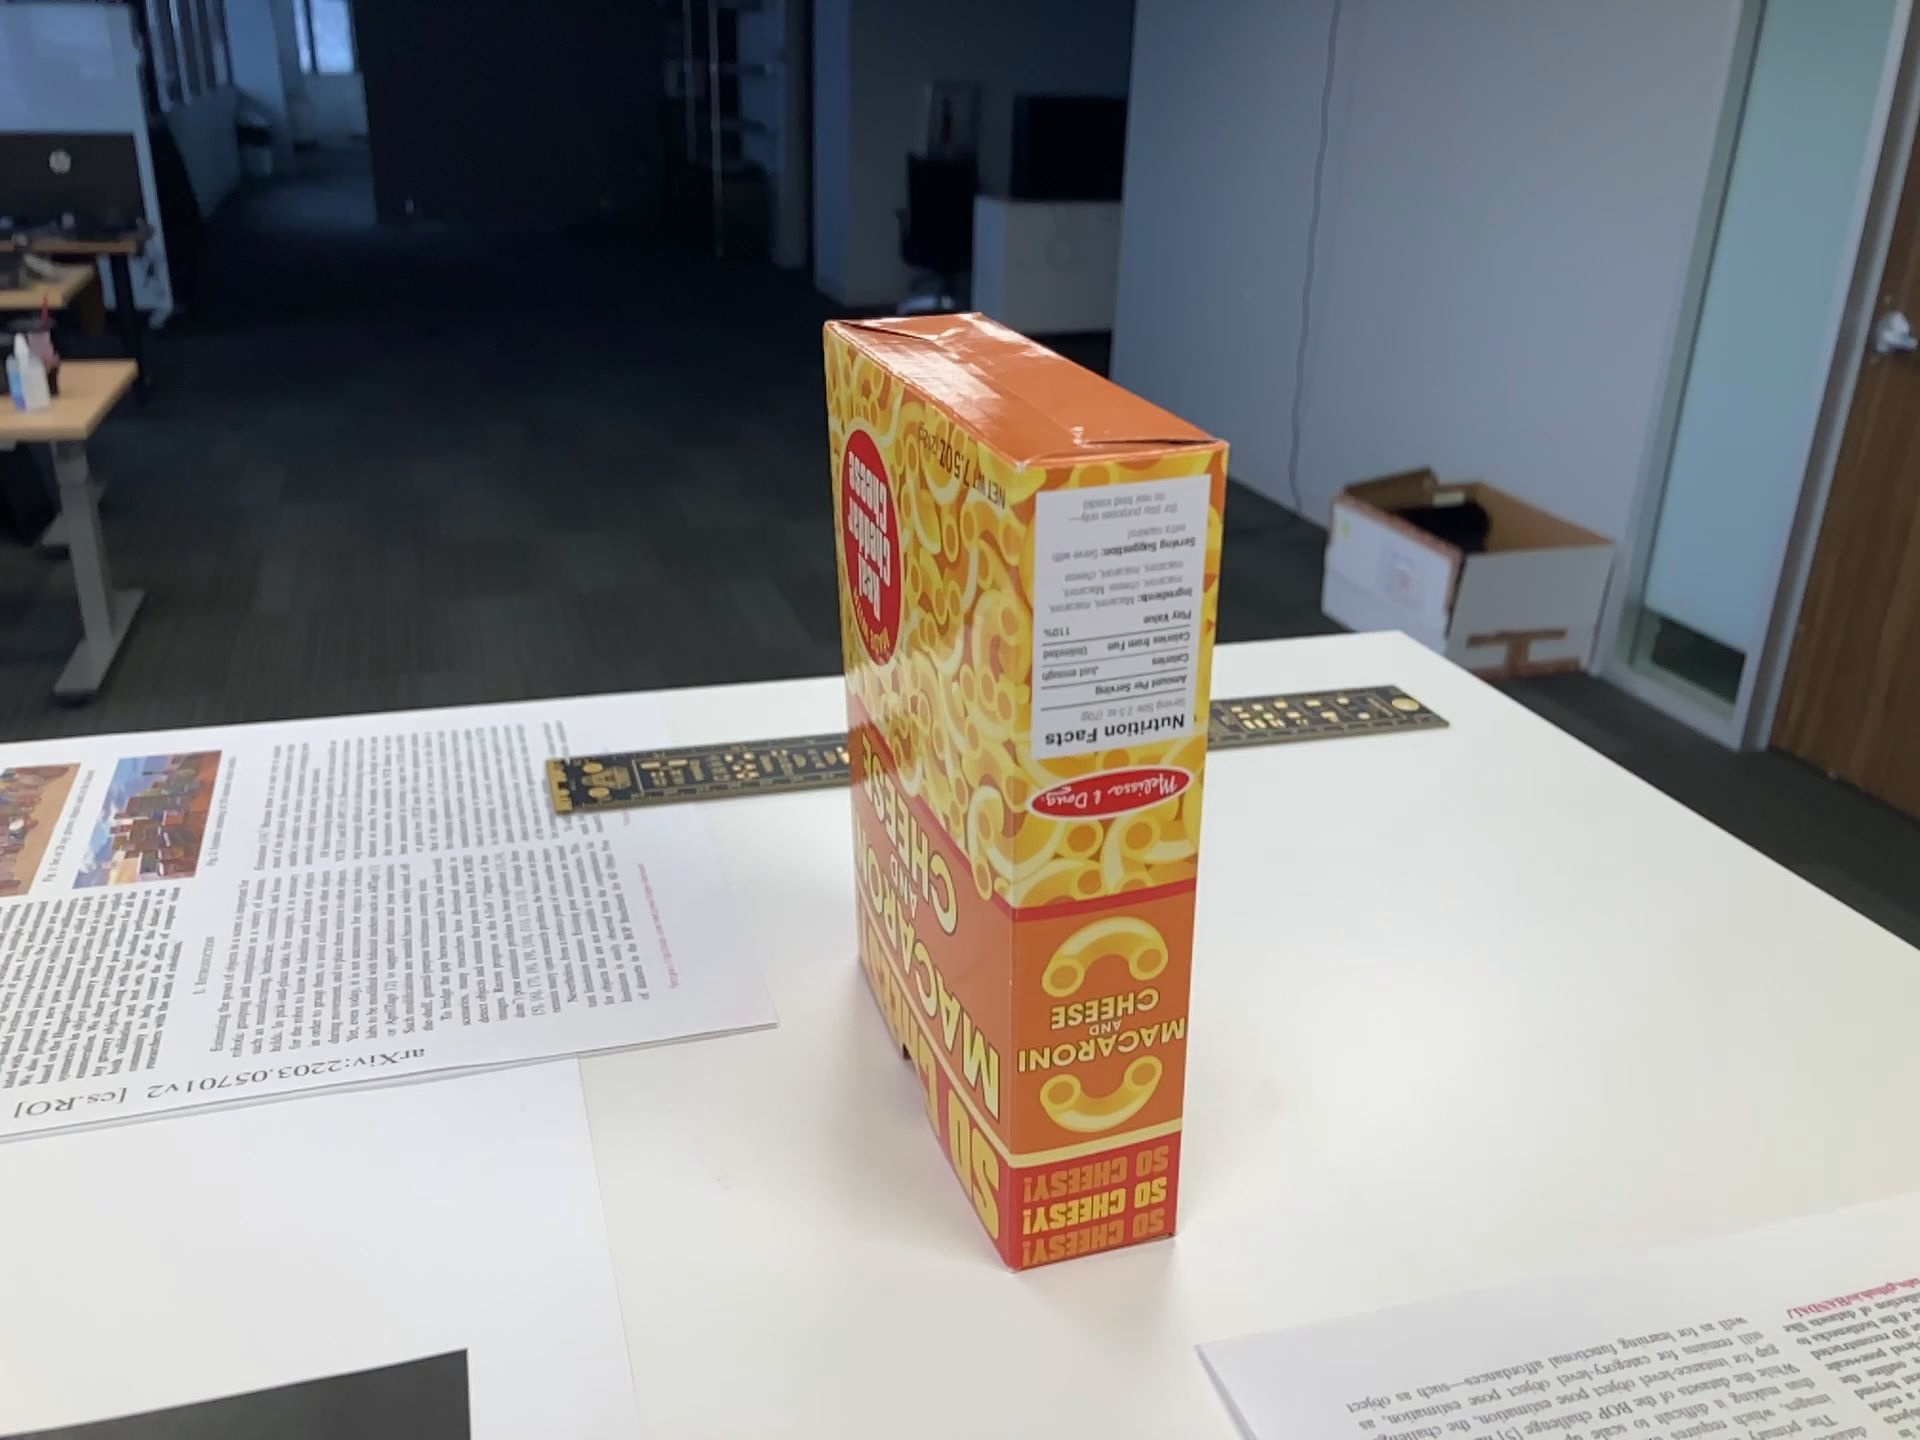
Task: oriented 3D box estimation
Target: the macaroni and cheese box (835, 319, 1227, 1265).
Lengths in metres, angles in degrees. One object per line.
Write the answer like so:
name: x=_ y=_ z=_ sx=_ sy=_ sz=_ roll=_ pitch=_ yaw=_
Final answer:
macaroni and cheese box: x=0.008 y=0.009 z=0.342 sx=0.040 sy=0.166 sz=0.124 roll=-8 pitch=26 yaw=-16
